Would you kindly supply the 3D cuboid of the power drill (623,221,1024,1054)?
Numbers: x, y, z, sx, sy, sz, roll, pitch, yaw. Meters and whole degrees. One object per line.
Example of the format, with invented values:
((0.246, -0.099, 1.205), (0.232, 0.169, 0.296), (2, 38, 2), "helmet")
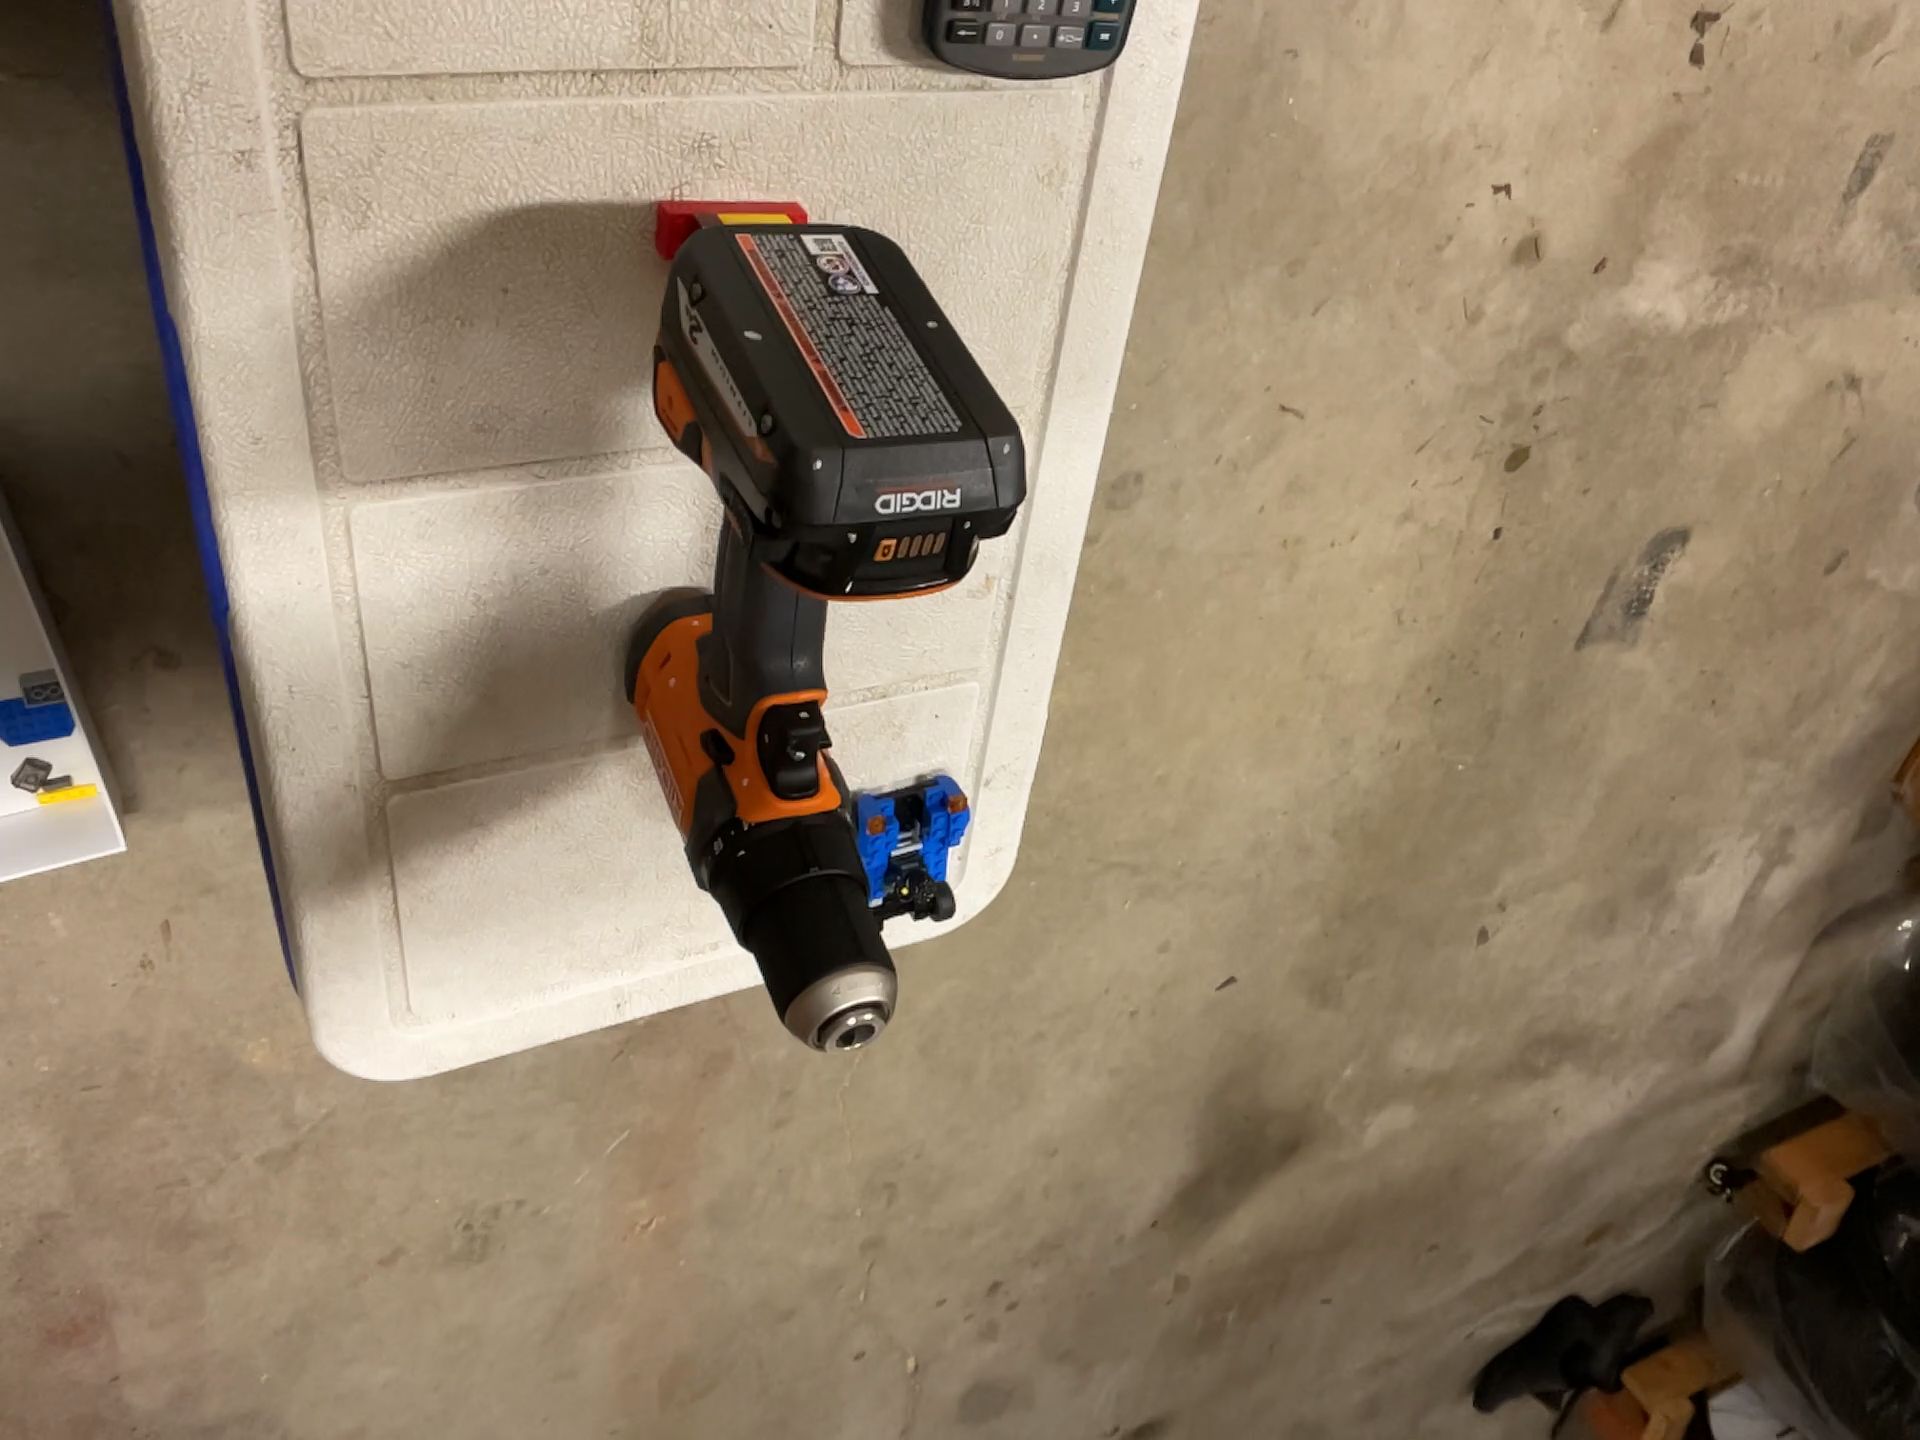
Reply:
((-0.050, -0.018, 0.515), (0.084, 0.185, 0.225), (-8, 141, -26), "power drill")
